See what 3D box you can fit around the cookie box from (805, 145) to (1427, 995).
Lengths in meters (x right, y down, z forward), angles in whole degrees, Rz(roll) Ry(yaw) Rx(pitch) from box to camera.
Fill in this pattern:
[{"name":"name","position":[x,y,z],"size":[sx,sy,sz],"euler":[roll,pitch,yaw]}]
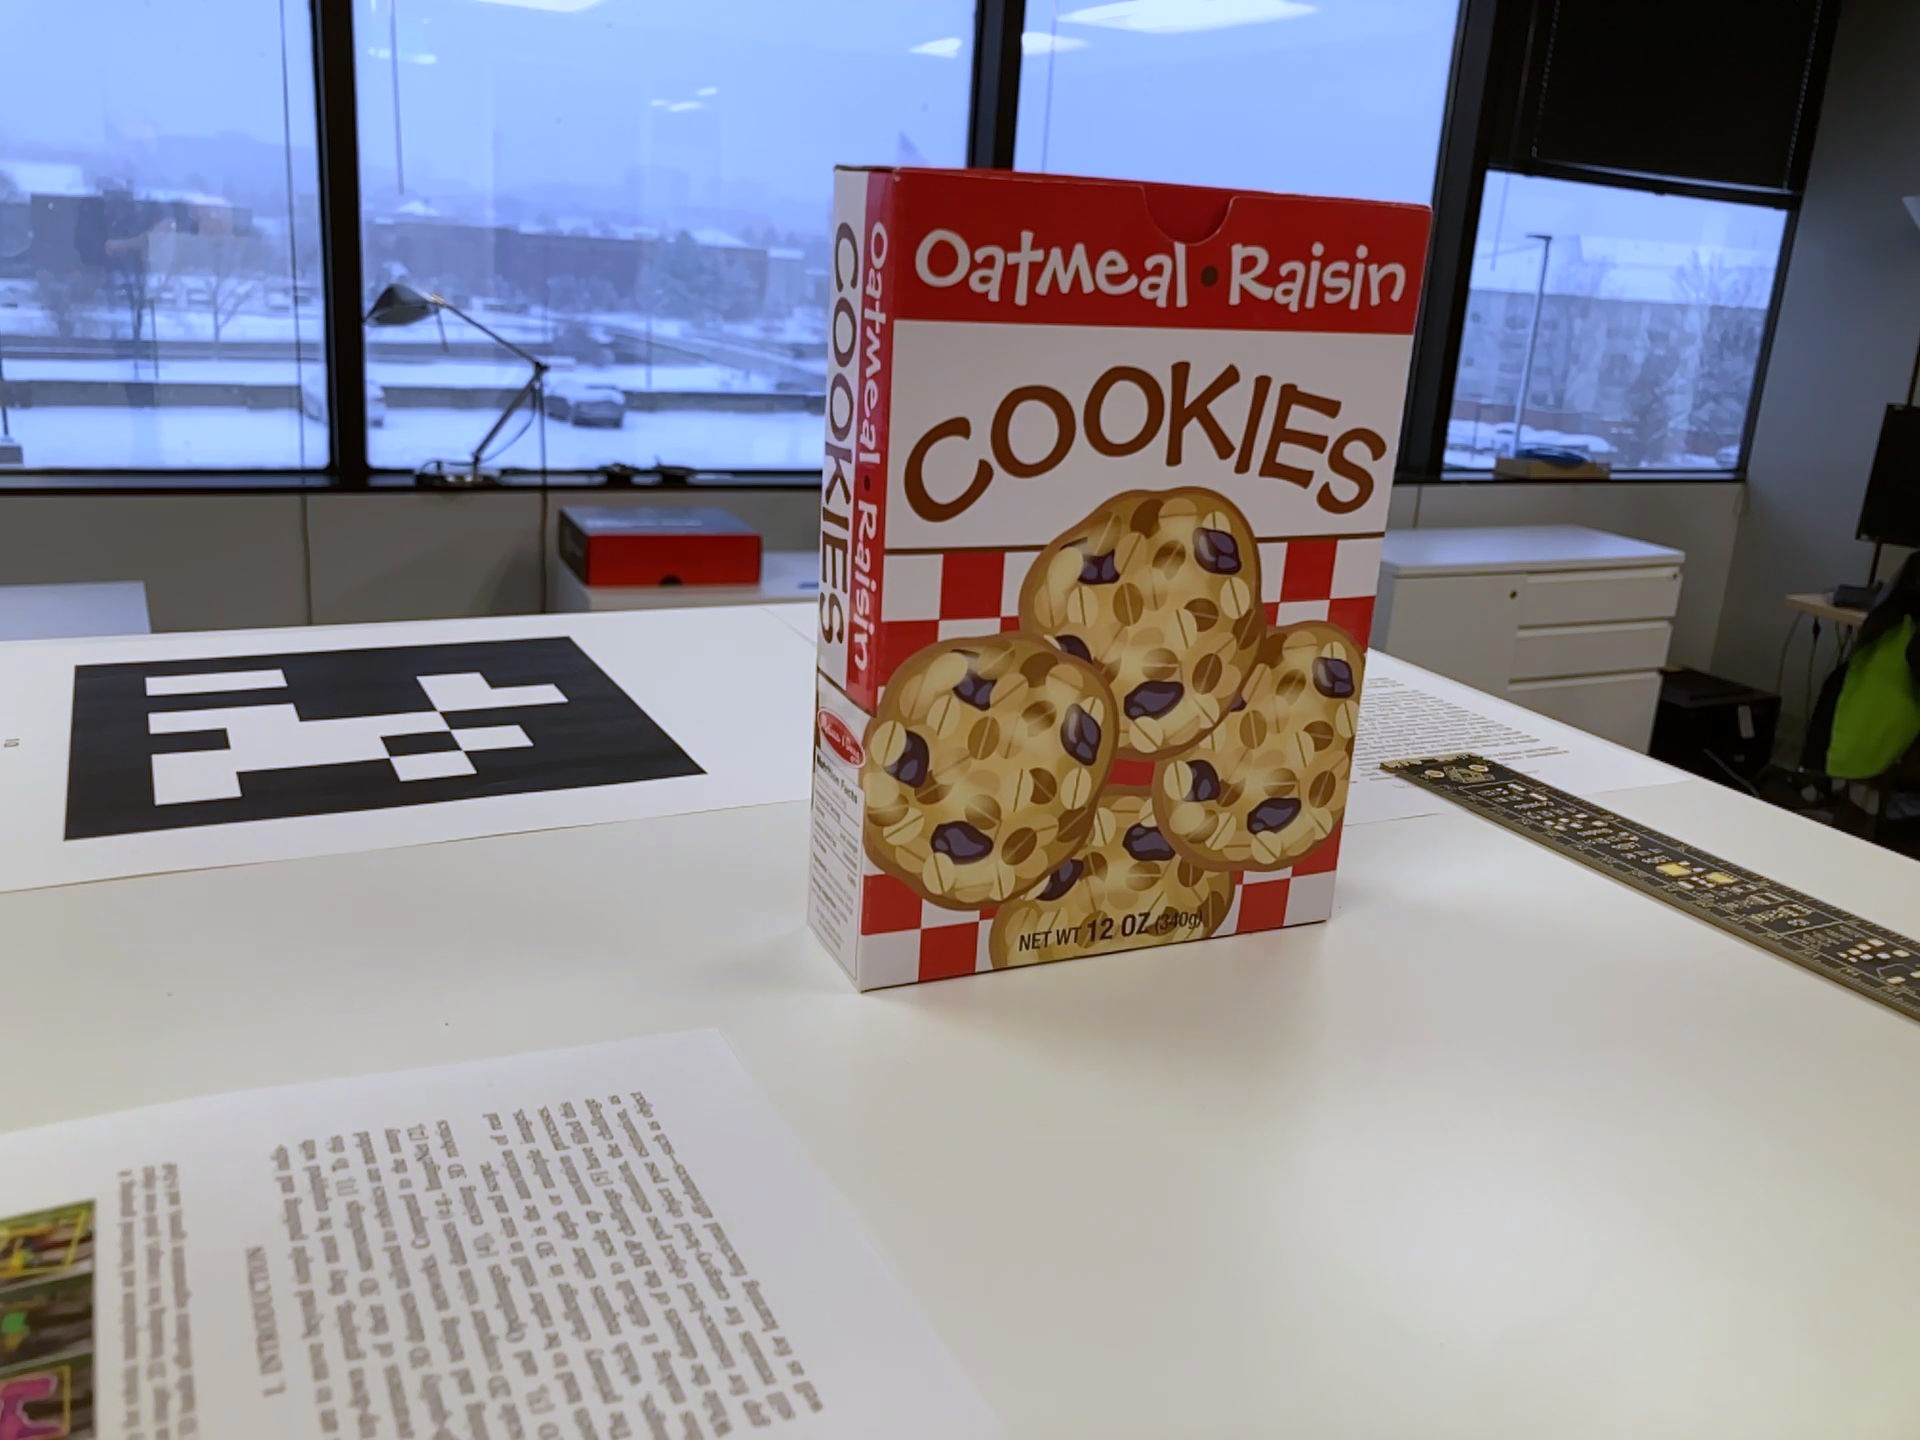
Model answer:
[{"name":"cookie box","position":[0.032,-0.031,0.346],"size":[0.123,0.167,0.040],"euler":[-4,17,-24]}]
